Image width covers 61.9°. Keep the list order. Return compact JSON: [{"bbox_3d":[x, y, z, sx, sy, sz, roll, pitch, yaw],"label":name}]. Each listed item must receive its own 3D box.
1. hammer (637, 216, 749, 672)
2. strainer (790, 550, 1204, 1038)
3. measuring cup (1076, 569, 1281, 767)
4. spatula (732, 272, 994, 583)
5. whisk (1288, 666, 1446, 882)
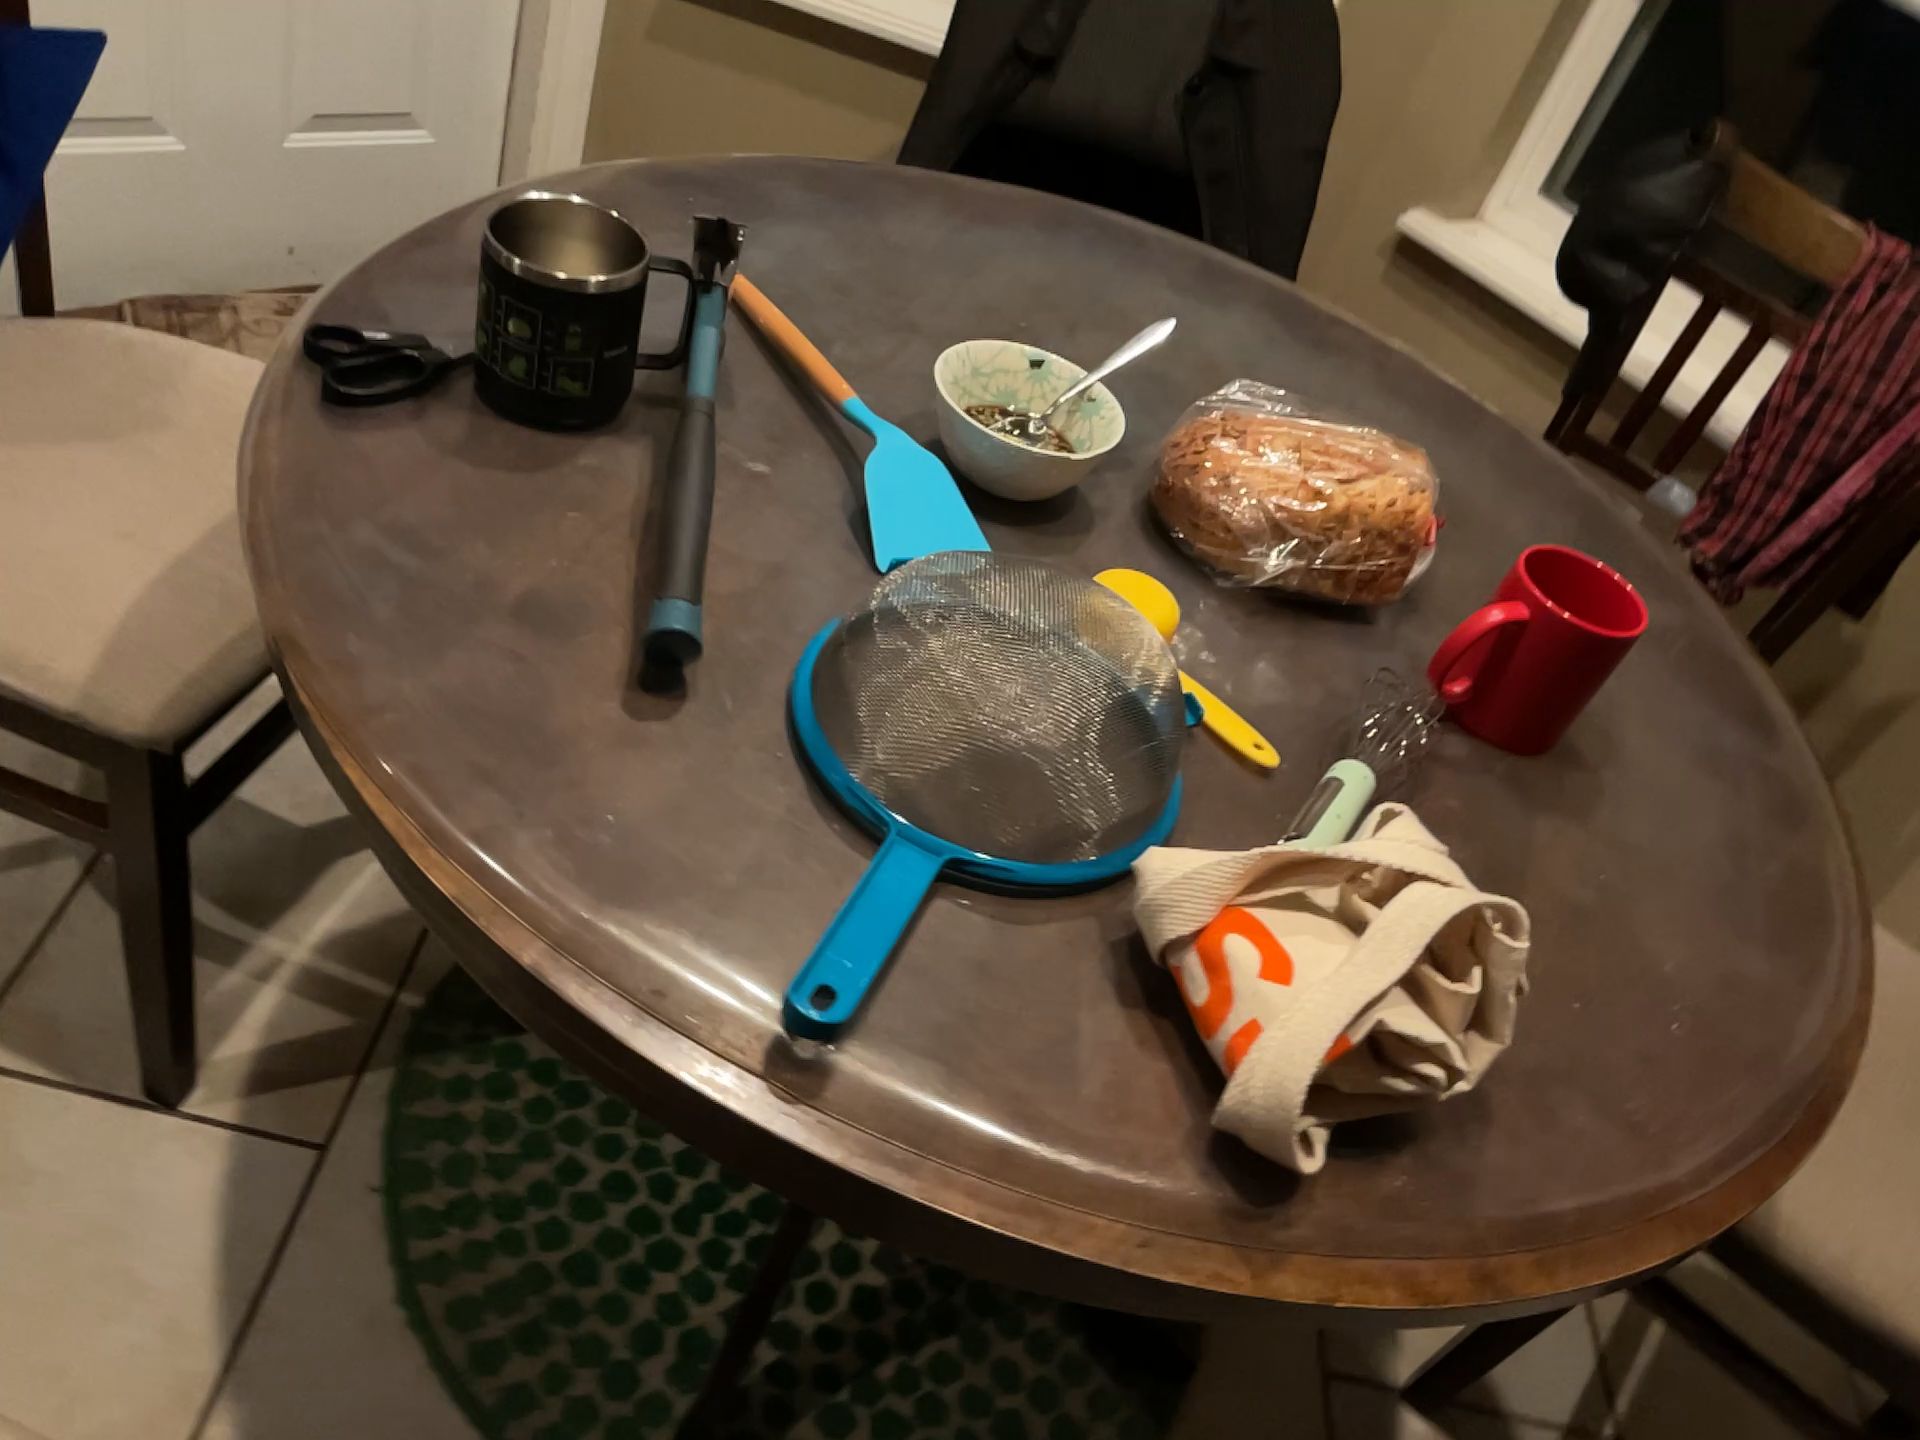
[{"bbox_3d":[-0.147,-0.156,0.880,0.033,0.128,0.331,8,50,-12],"label":"hammer"},{"bbox_3d":[0.007,0.010,0.751,0.211,0.095,0.341,25,35,6],"label":"strainer"},{"bbox_3d":[0.129,-0.032,0.903,0.062,0.029,0.157,-19,52,-38],"label":"measuring cup"},{"bbox_3d":[-0.082,-0.196,1.006,0.082,0.044,0.318,-10,45,-32],"label":"spatula"},{"bbox_3d":[0.207,0.029,0.833,0.059,0.057,0.246,58,34,-4],"label":"whisk"}]
